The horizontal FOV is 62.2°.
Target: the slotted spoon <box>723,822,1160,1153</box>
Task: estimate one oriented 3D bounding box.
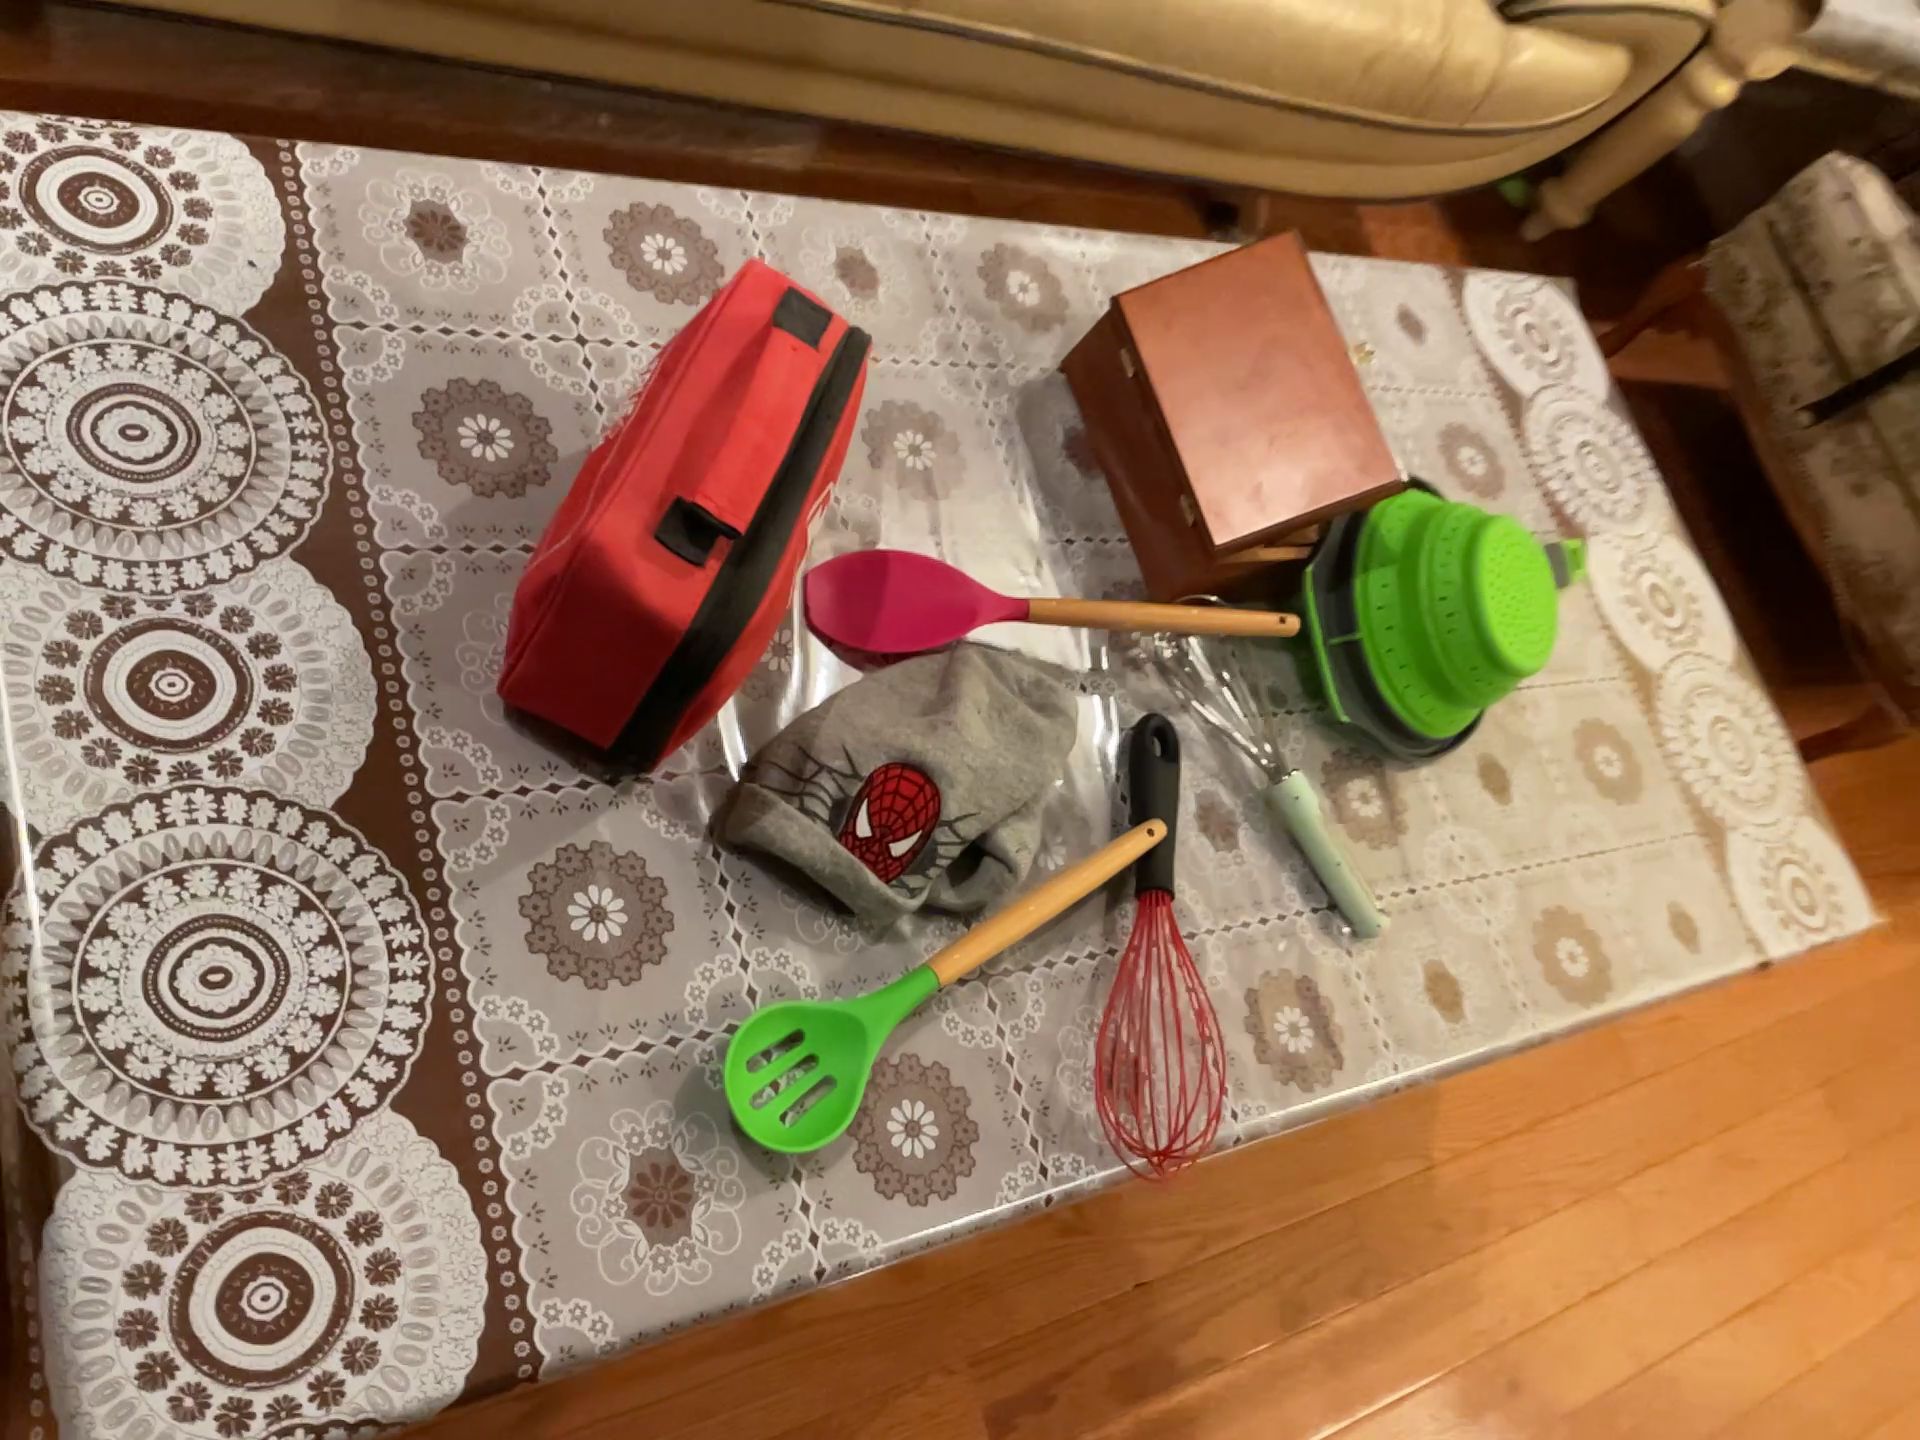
[{"bbox_3d":[0.002,0.125,0.824,0.314,0.031,0.070,-29,82,-37],"label":"slotted spoon"}]

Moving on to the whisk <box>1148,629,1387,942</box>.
[{"bbox_3d":[0.197,0.034,1.008,0.058,0.059,0.246,-32,86,2],"label":"whisk"}]

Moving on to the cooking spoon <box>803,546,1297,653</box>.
[{"bbox_3d":[0.061,-0.064,0.949,0.318,0.017,0.069,2,65,-20],"label":"cooking spoon"}]

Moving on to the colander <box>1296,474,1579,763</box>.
[{"bbox_3d":[0.389,-0.093,1.136,0.397,0.094,0.204,-17,95,-45],"label":"colander"}]

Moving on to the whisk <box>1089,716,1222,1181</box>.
[{"bbox_3d":[0.110,0.116,0.896,0.073,0.073,0.296,18,50,-16],"label":"whisk"}]
